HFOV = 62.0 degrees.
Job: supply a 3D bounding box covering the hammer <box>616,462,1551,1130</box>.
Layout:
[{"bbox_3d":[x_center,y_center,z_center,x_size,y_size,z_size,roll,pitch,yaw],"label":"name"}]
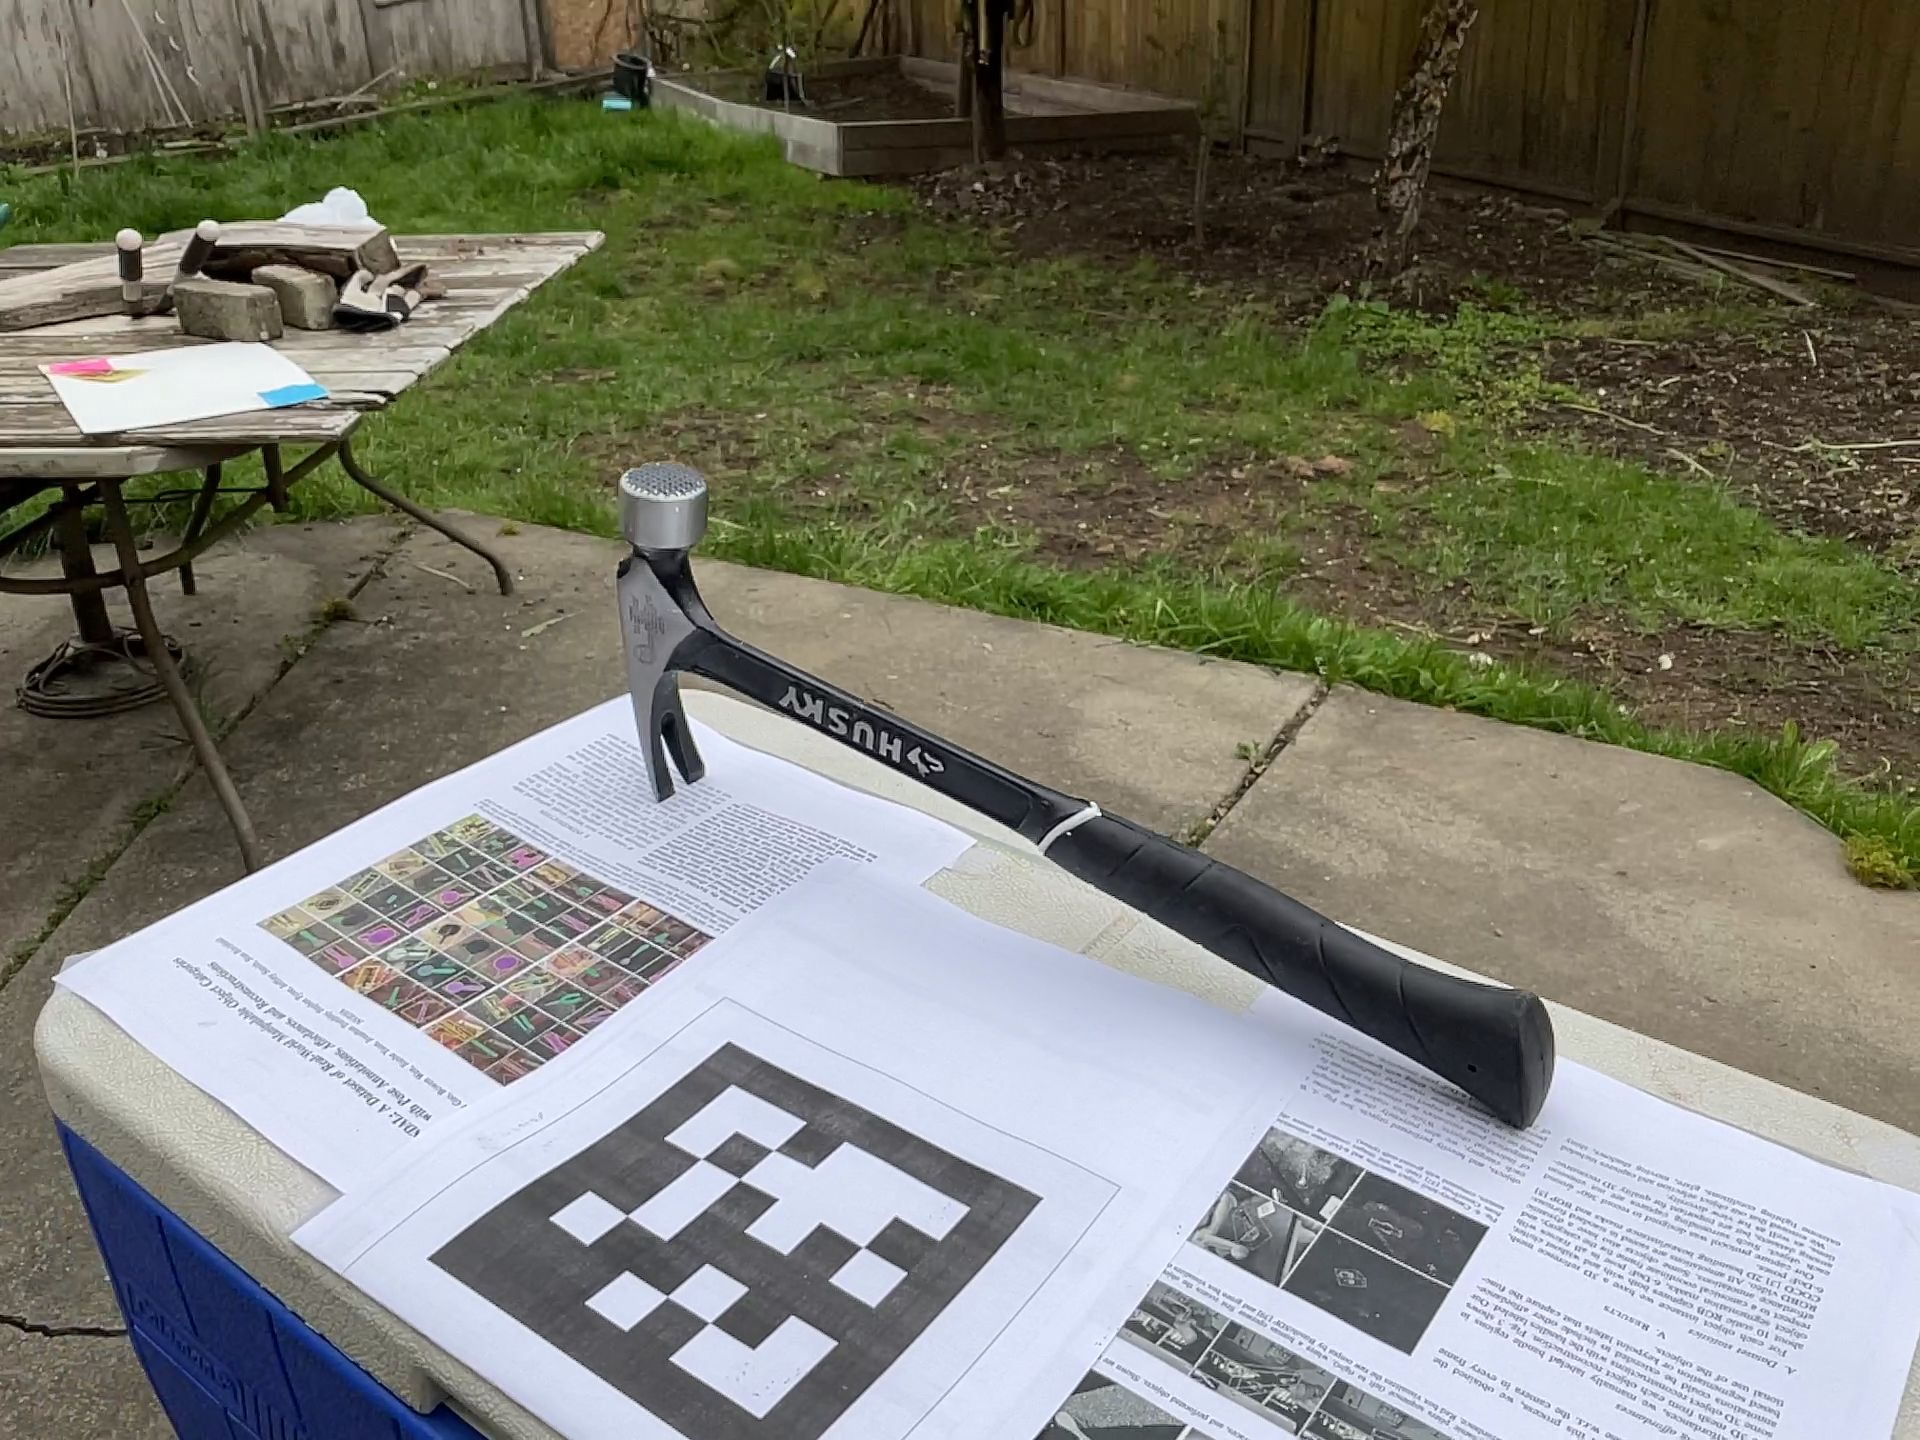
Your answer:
[{"bbox_3d":[0.023,0.039,0.604,0.409,0.149,0.036,26,37,25],"label":"hammer"}]
